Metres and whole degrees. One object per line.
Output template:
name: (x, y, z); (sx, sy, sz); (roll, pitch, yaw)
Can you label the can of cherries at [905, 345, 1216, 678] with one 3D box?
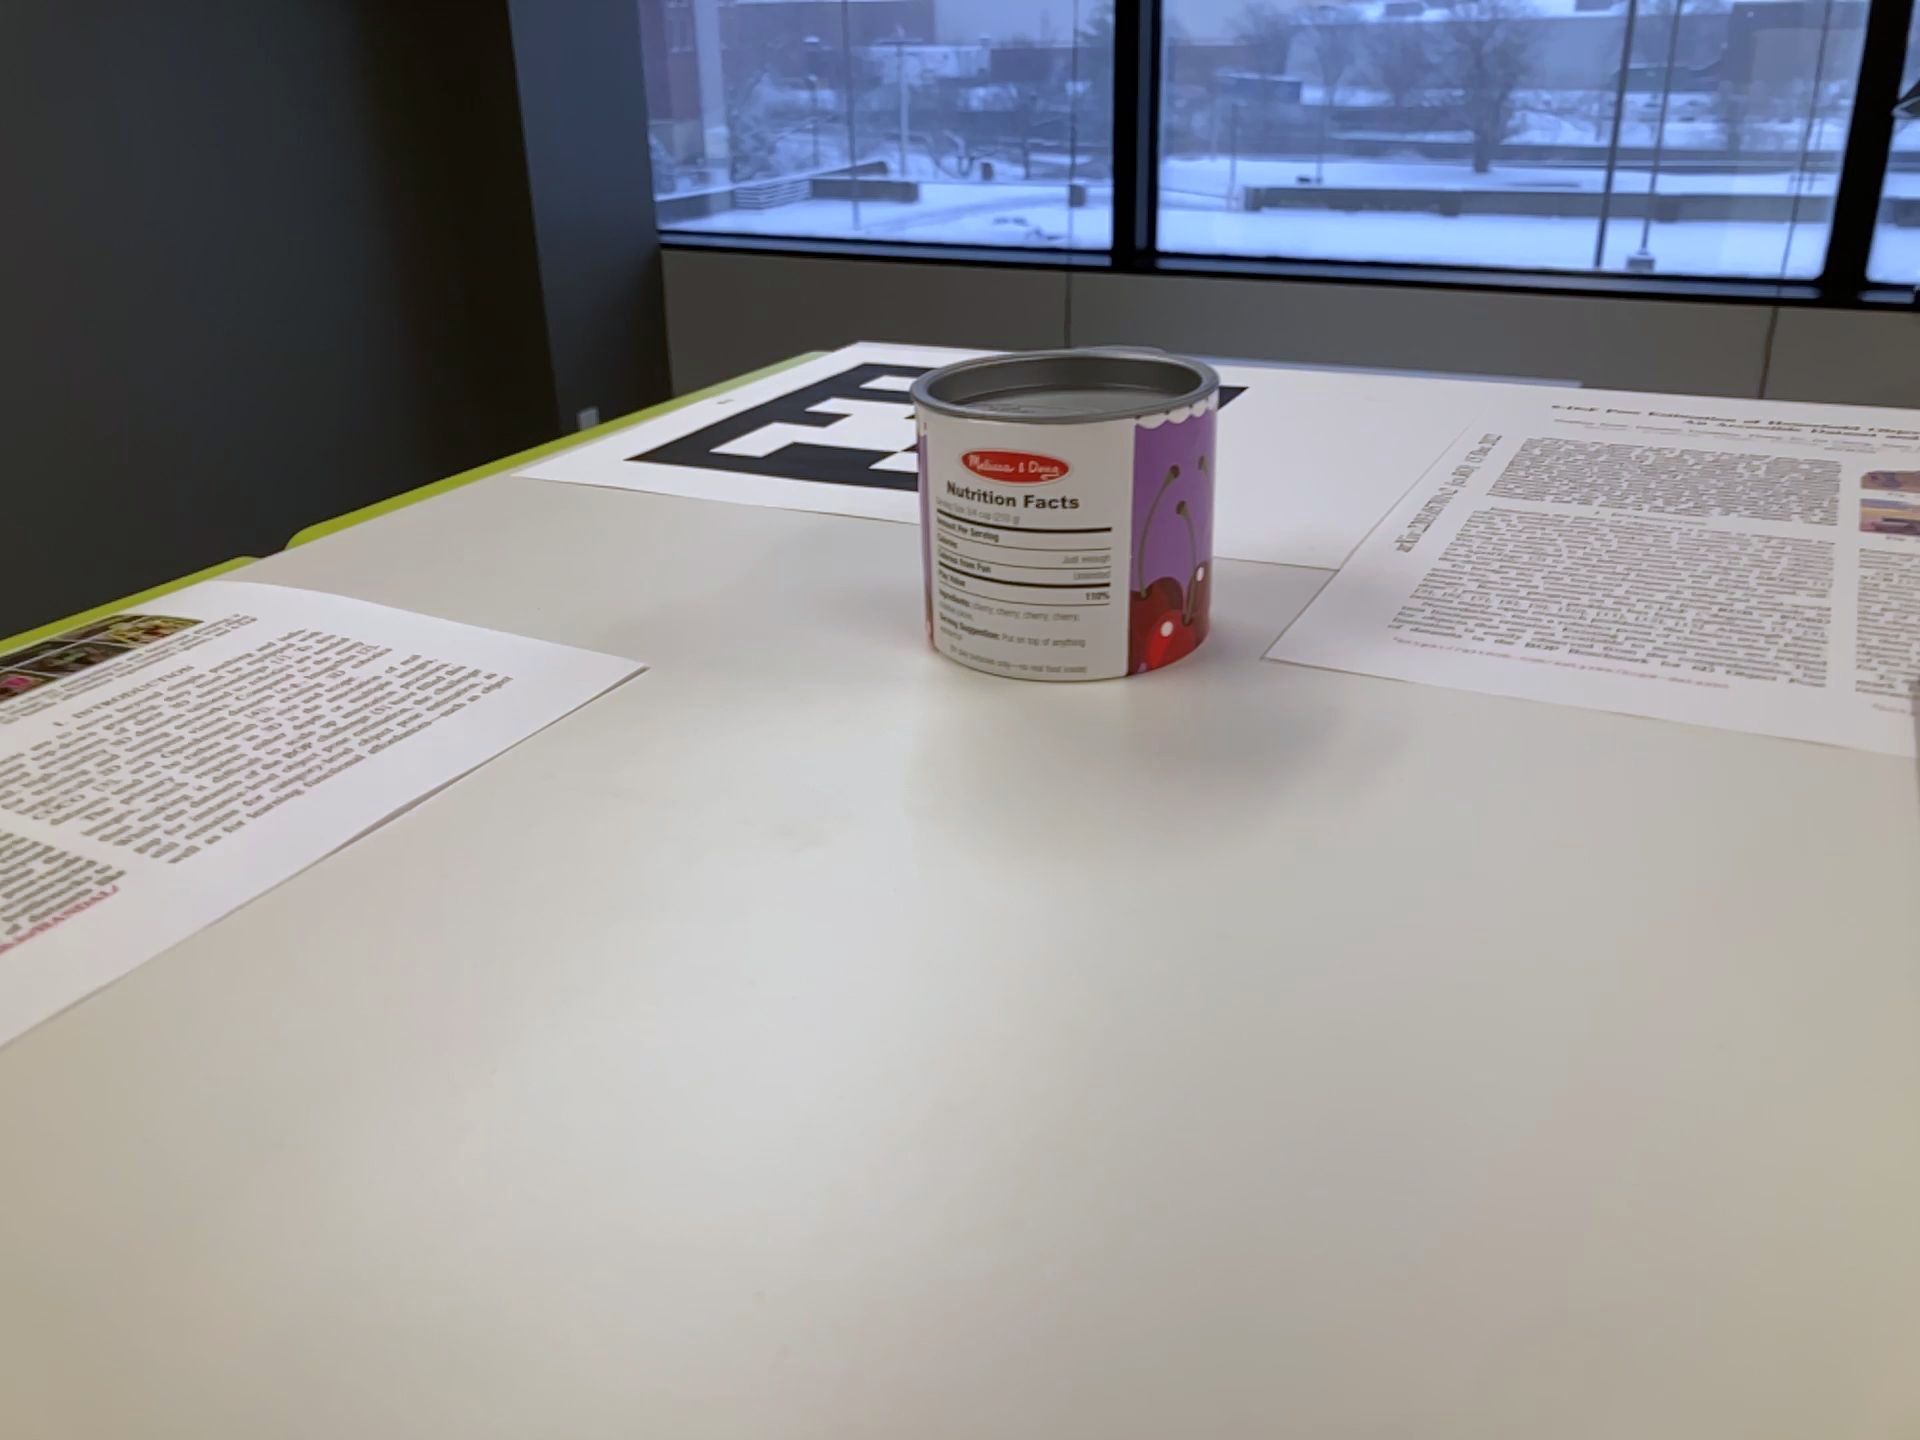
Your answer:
can of cherries: (0.024, -0.048, 0.351); (0.071, 0.058, 0.071); (-2, 23, 1)
